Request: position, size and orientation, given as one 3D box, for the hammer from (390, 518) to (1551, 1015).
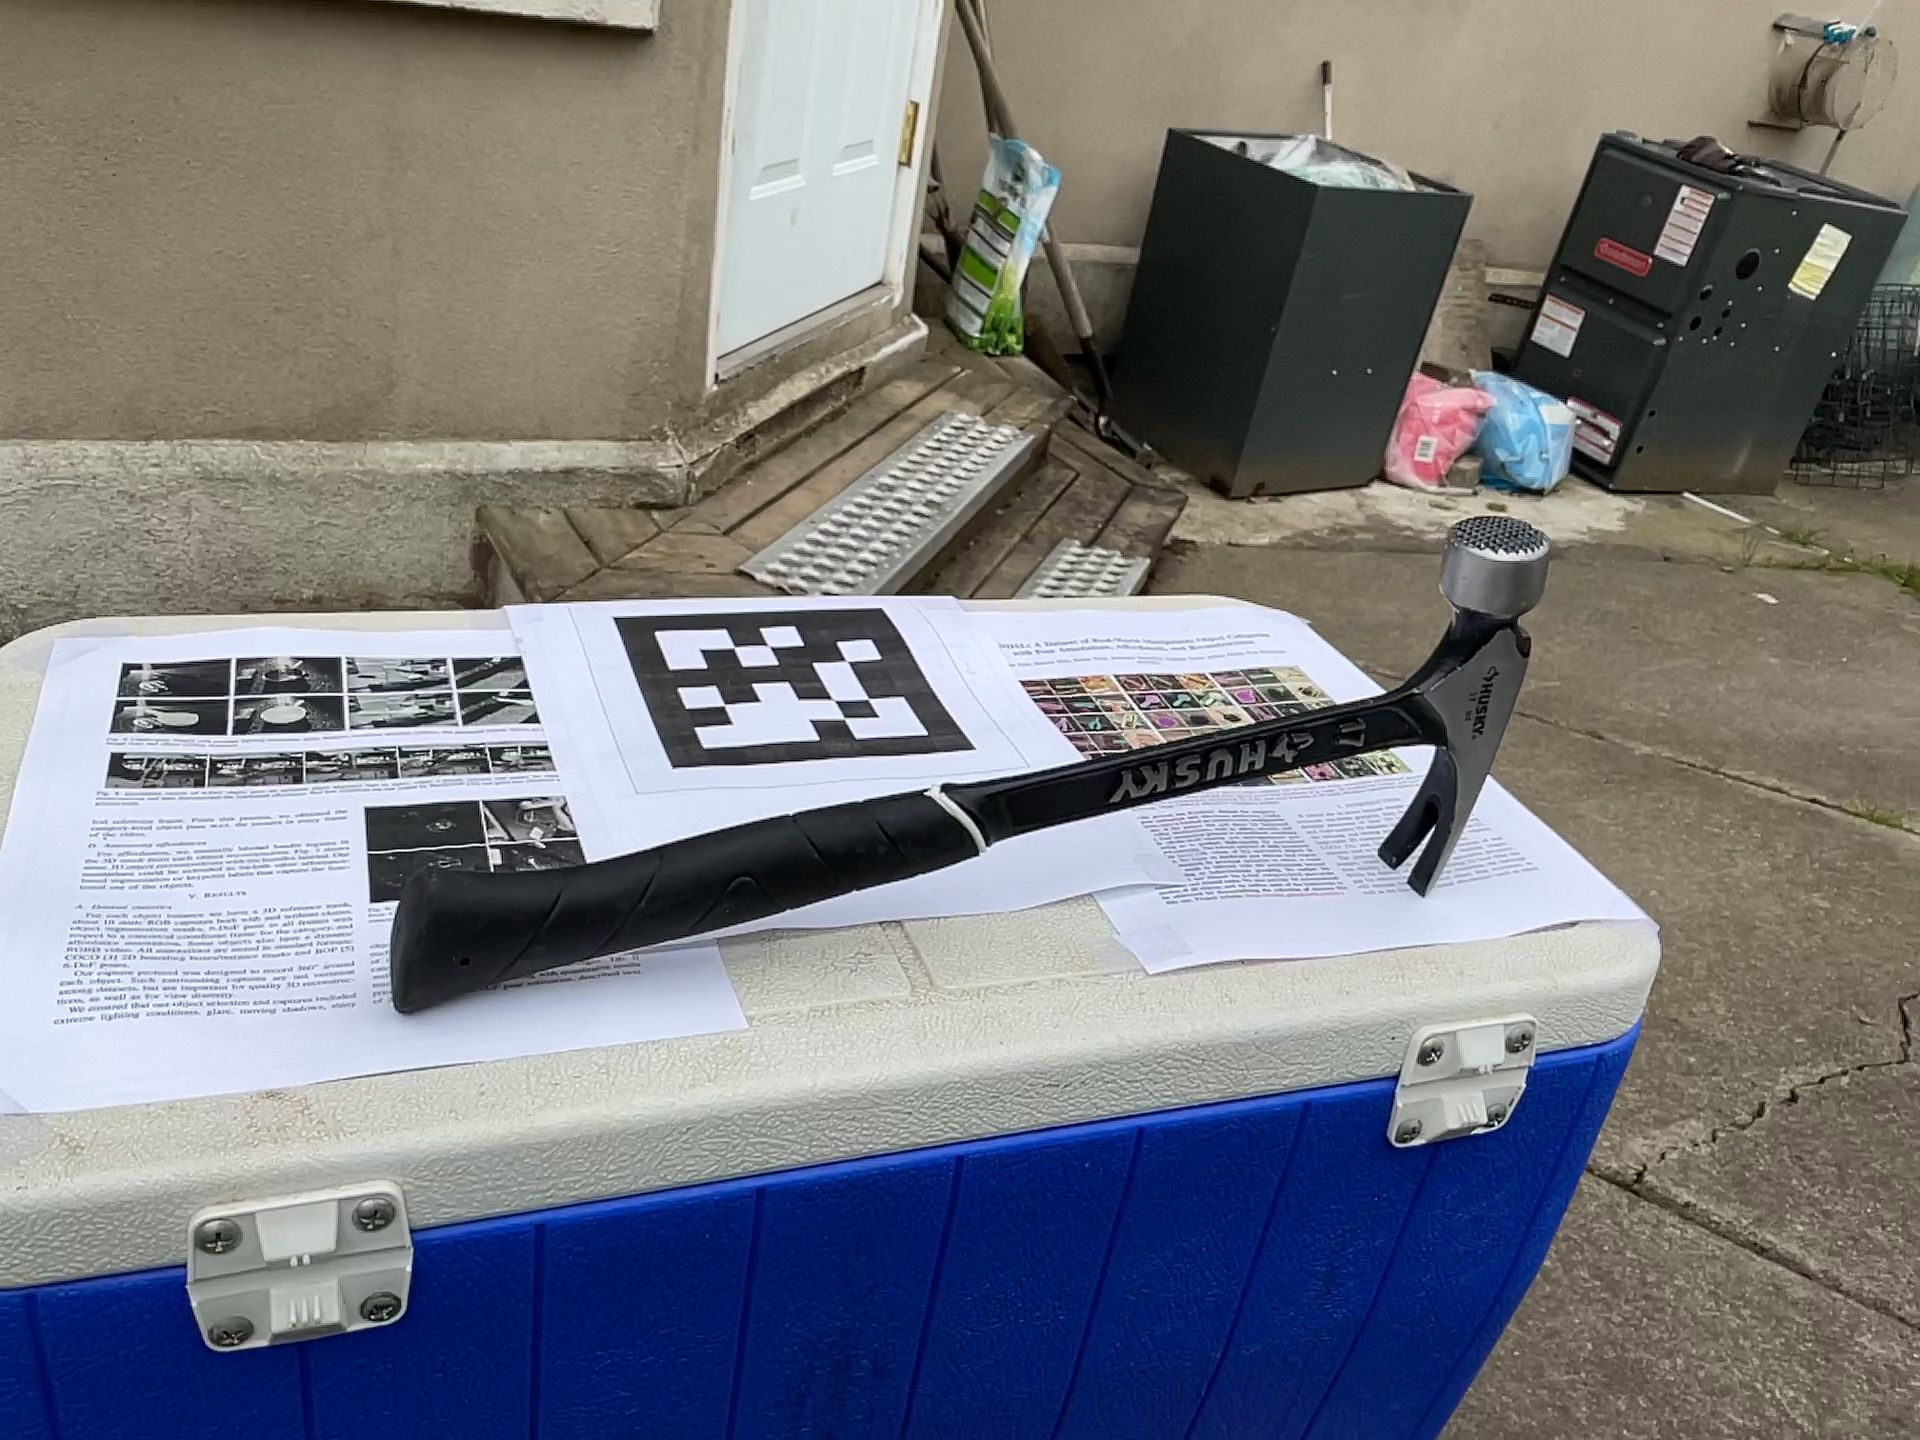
[{"bbox_3d":[0.017,0.034,0.544,0.409,0.149,0.036,-12,34,-18],"label":"hammer"}]
